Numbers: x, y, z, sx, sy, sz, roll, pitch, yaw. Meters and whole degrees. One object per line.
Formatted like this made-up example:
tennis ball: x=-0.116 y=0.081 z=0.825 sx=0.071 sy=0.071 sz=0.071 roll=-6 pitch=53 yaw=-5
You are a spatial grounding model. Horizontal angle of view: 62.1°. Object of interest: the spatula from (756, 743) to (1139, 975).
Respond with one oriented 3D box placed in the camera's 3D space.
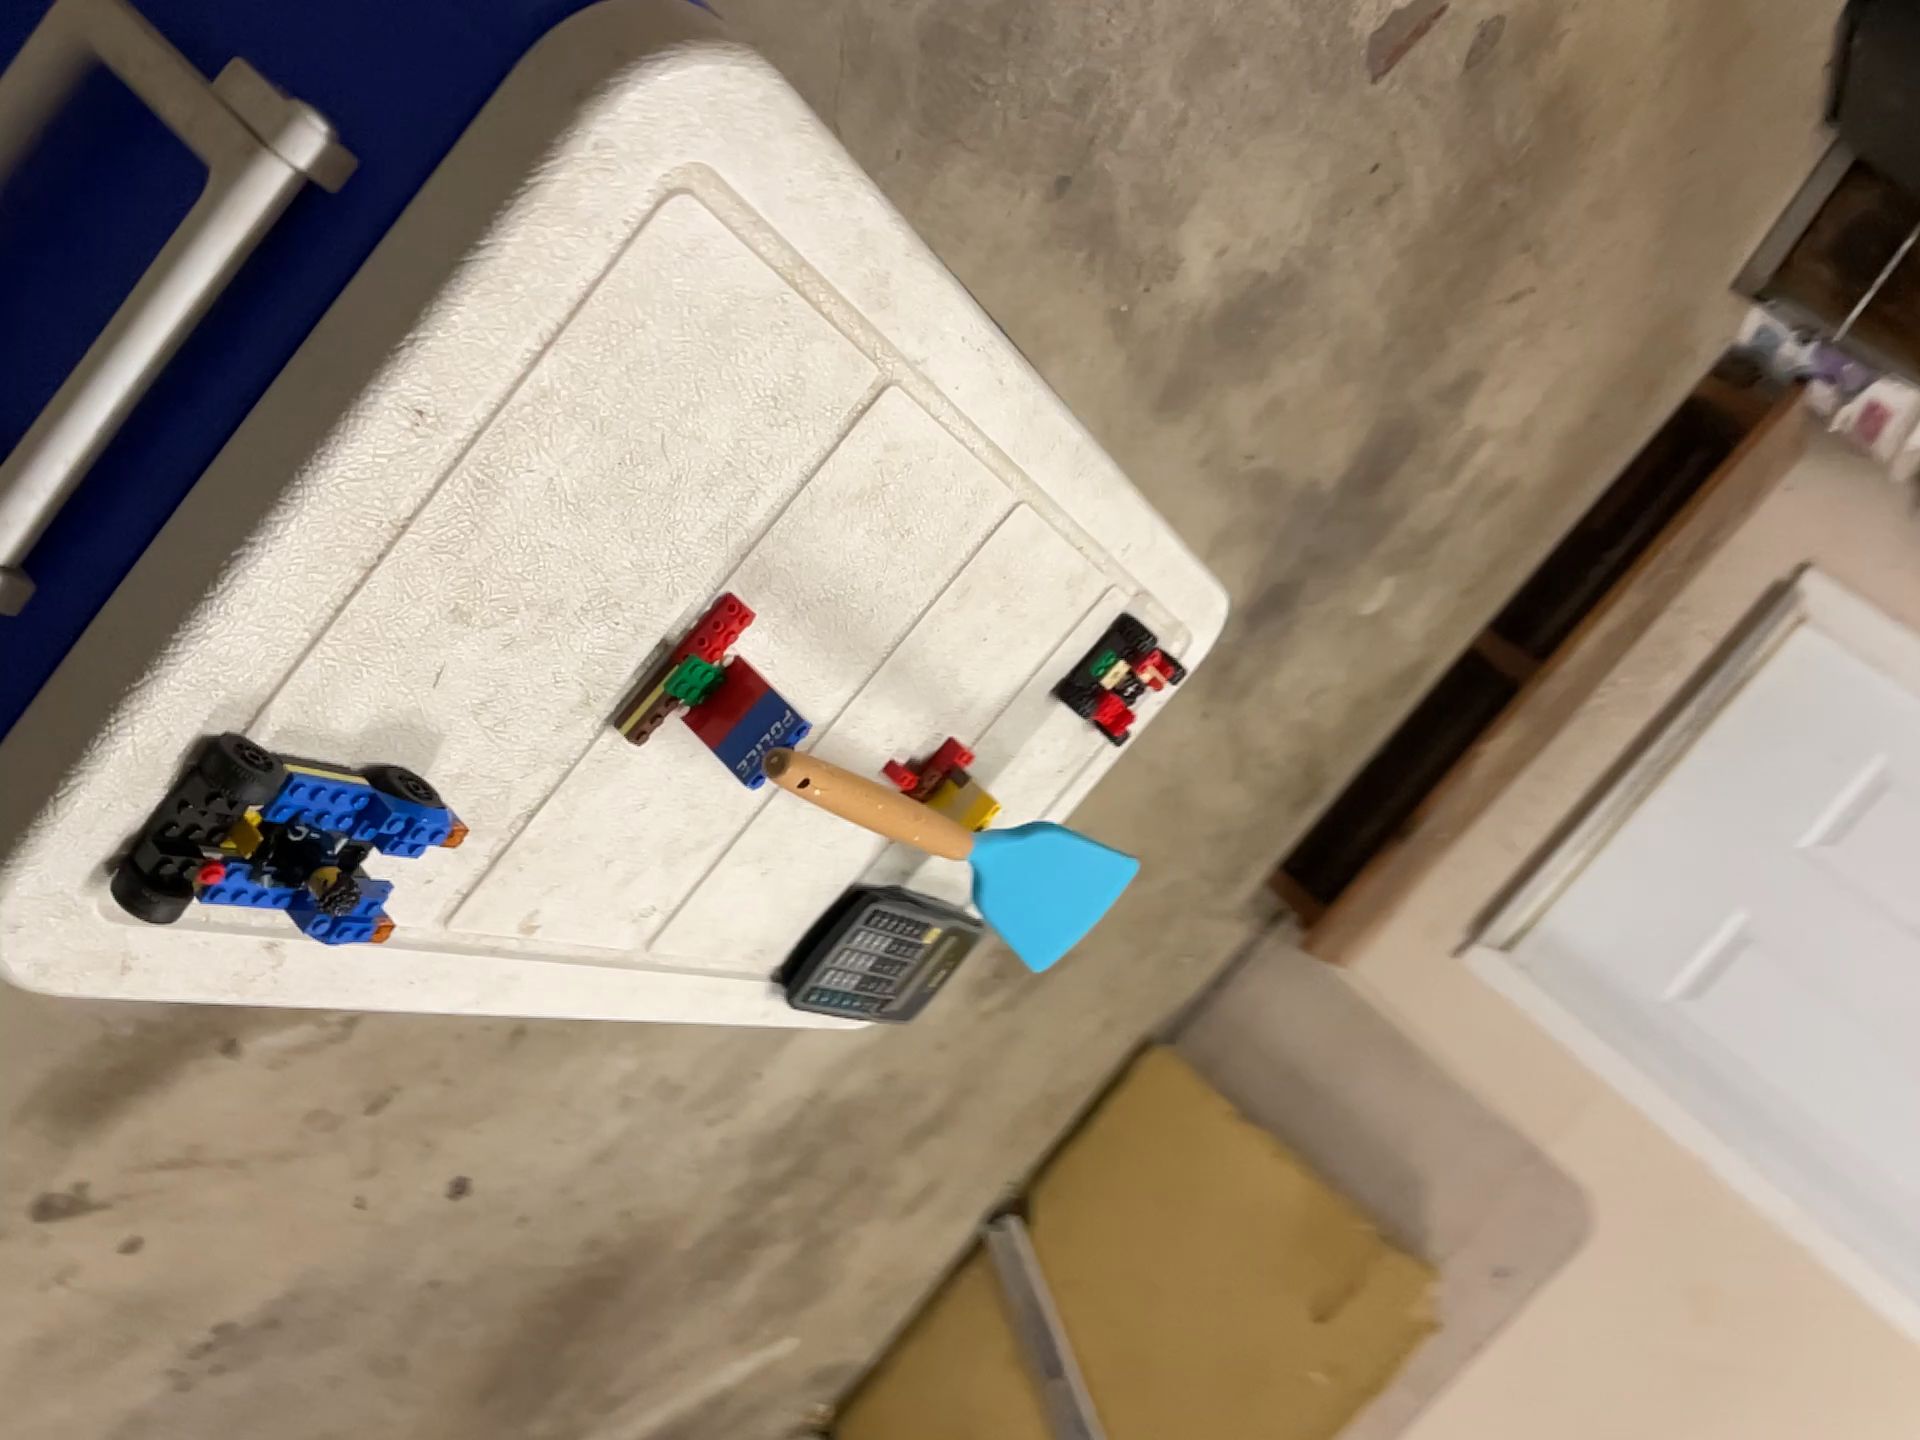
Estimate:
spatula: x=-0.003 y=0.055 z=0.689 sx=0.082 sy=0.044 sz=0.317 roll=-47 pitch=156 yaw=5
